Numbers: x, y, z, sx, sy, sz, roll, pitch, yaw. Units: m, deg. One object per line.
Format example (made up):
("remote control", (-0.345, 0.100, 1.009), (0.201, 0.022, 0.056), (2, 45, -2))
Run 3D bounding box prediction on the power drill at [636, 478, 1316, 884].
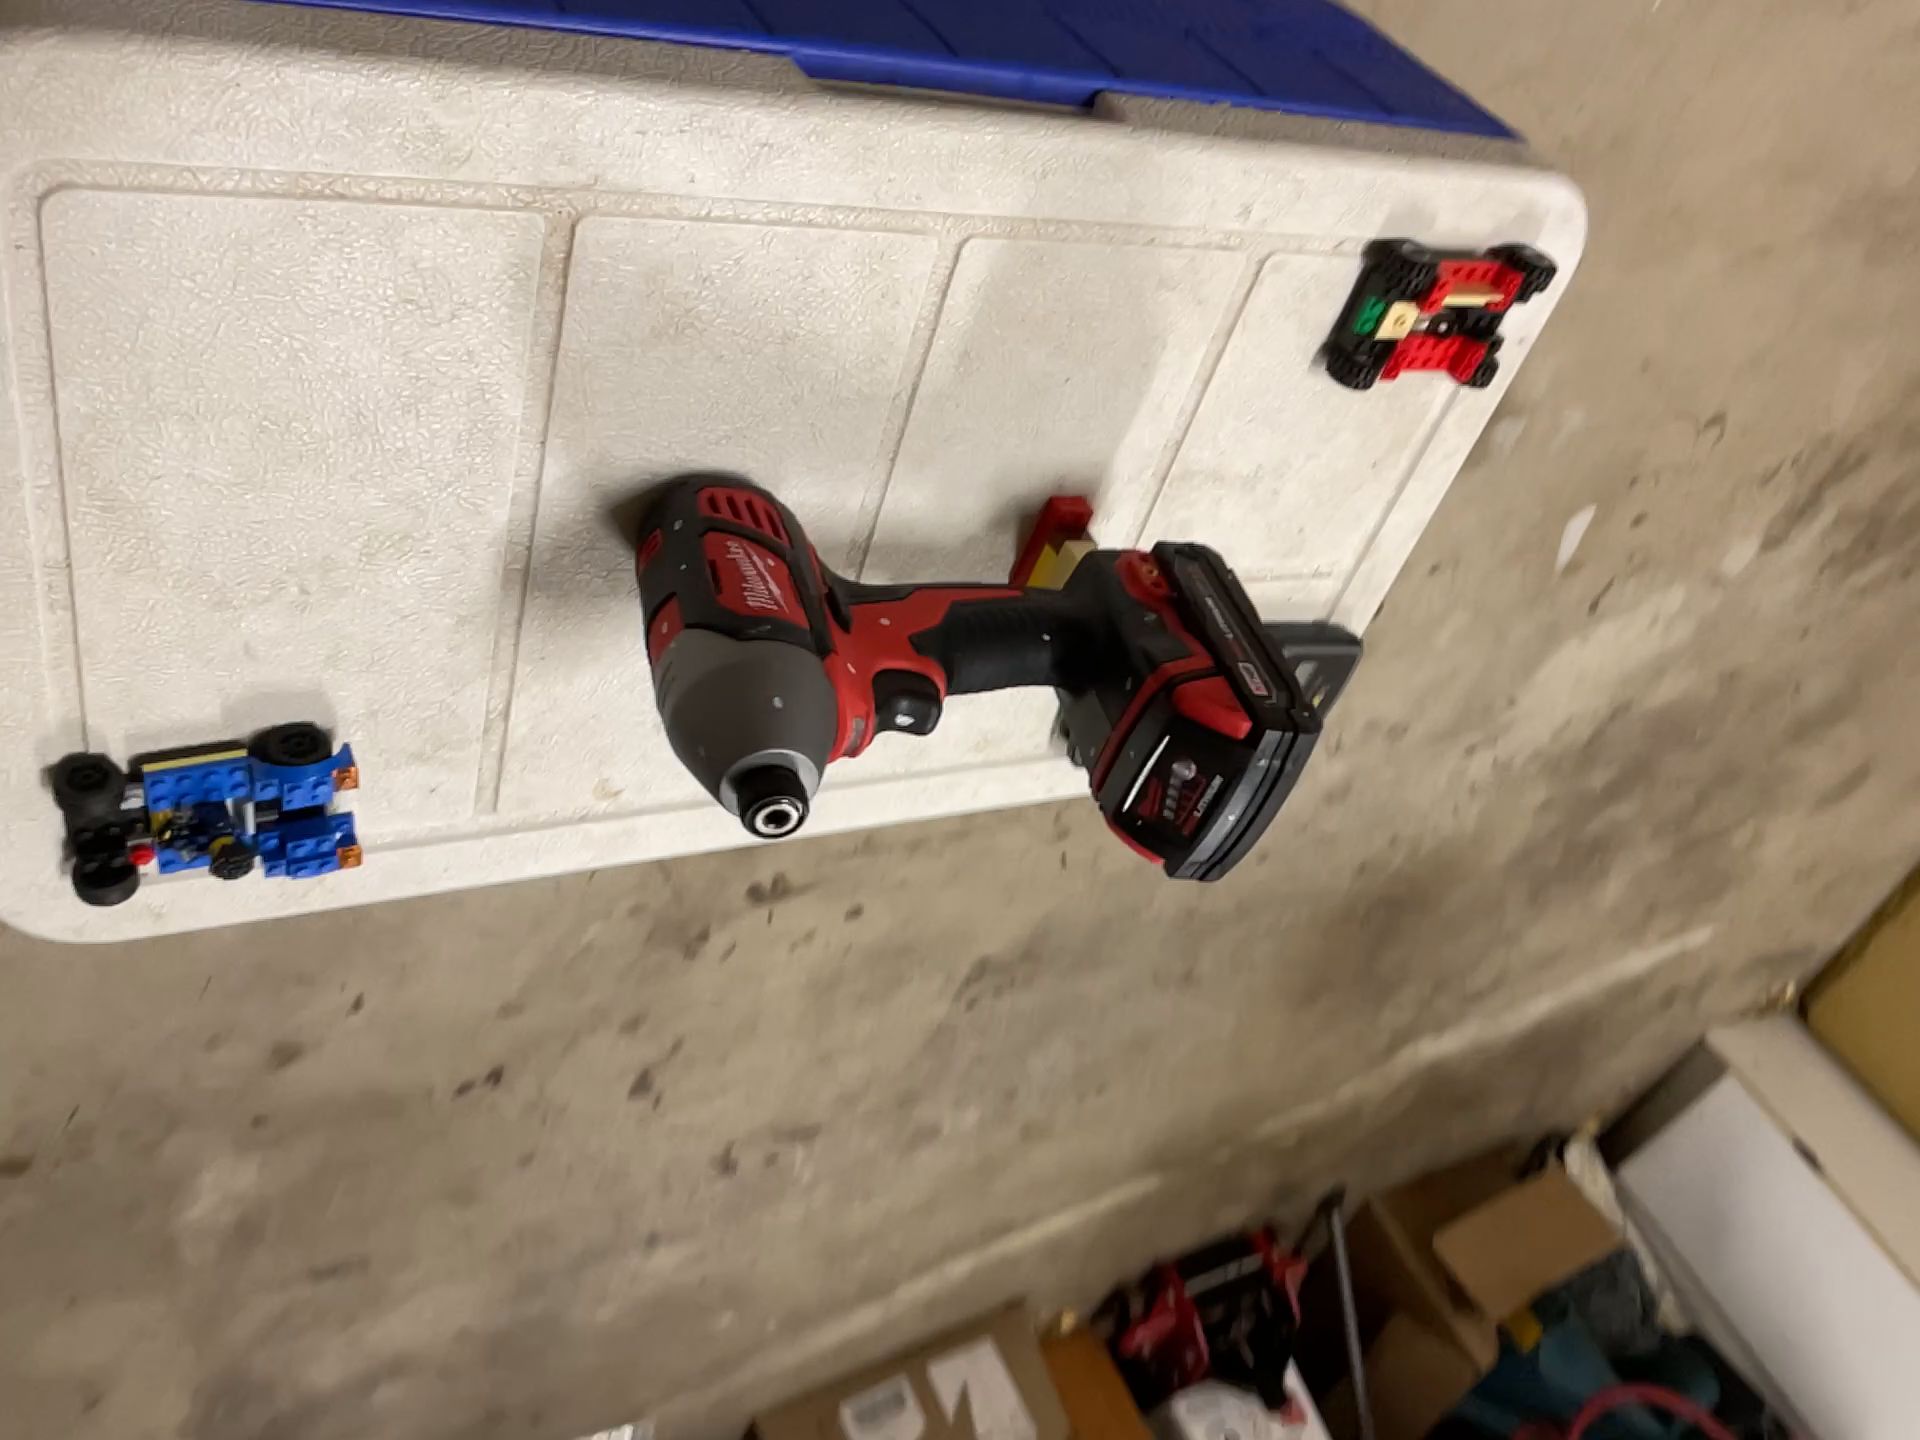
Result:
("power drill", (0.002, -0.010, 0.552), (0.219, 0.143, 0.078), (7, 131, -23))
